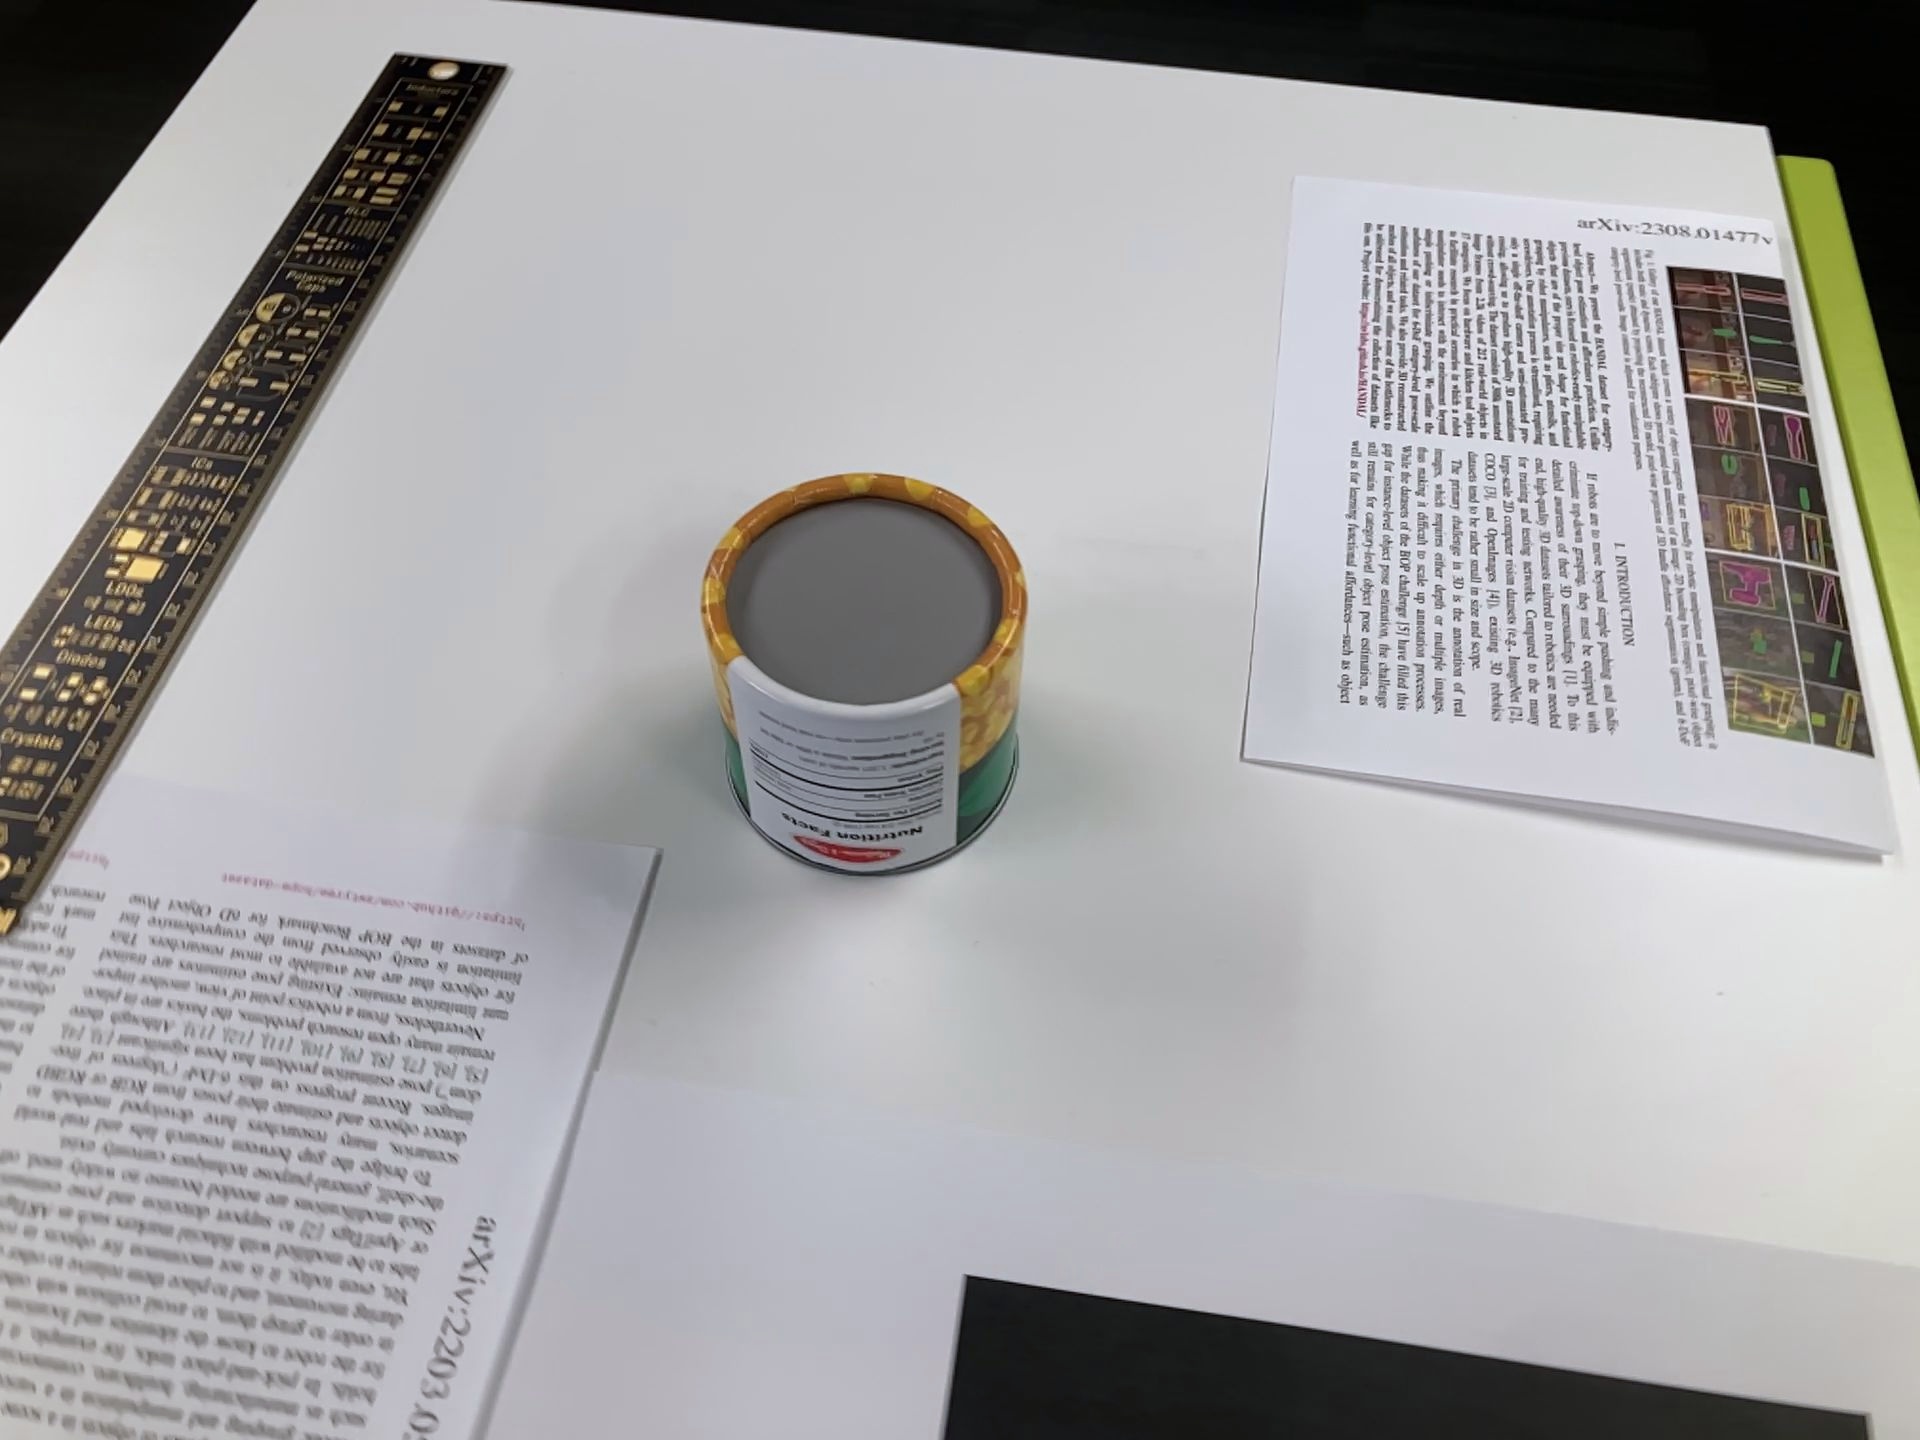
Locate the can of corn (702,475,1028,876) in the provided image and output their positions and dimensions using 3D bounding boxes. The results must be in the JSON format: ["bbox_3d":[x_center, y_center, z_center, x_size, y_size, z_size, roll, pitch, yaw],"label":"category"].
[{"bbox_3d":[-0.019,-0.012,0.341,0.071,0.058,0.071,1,54,-1],"label":"can of corn"}]
